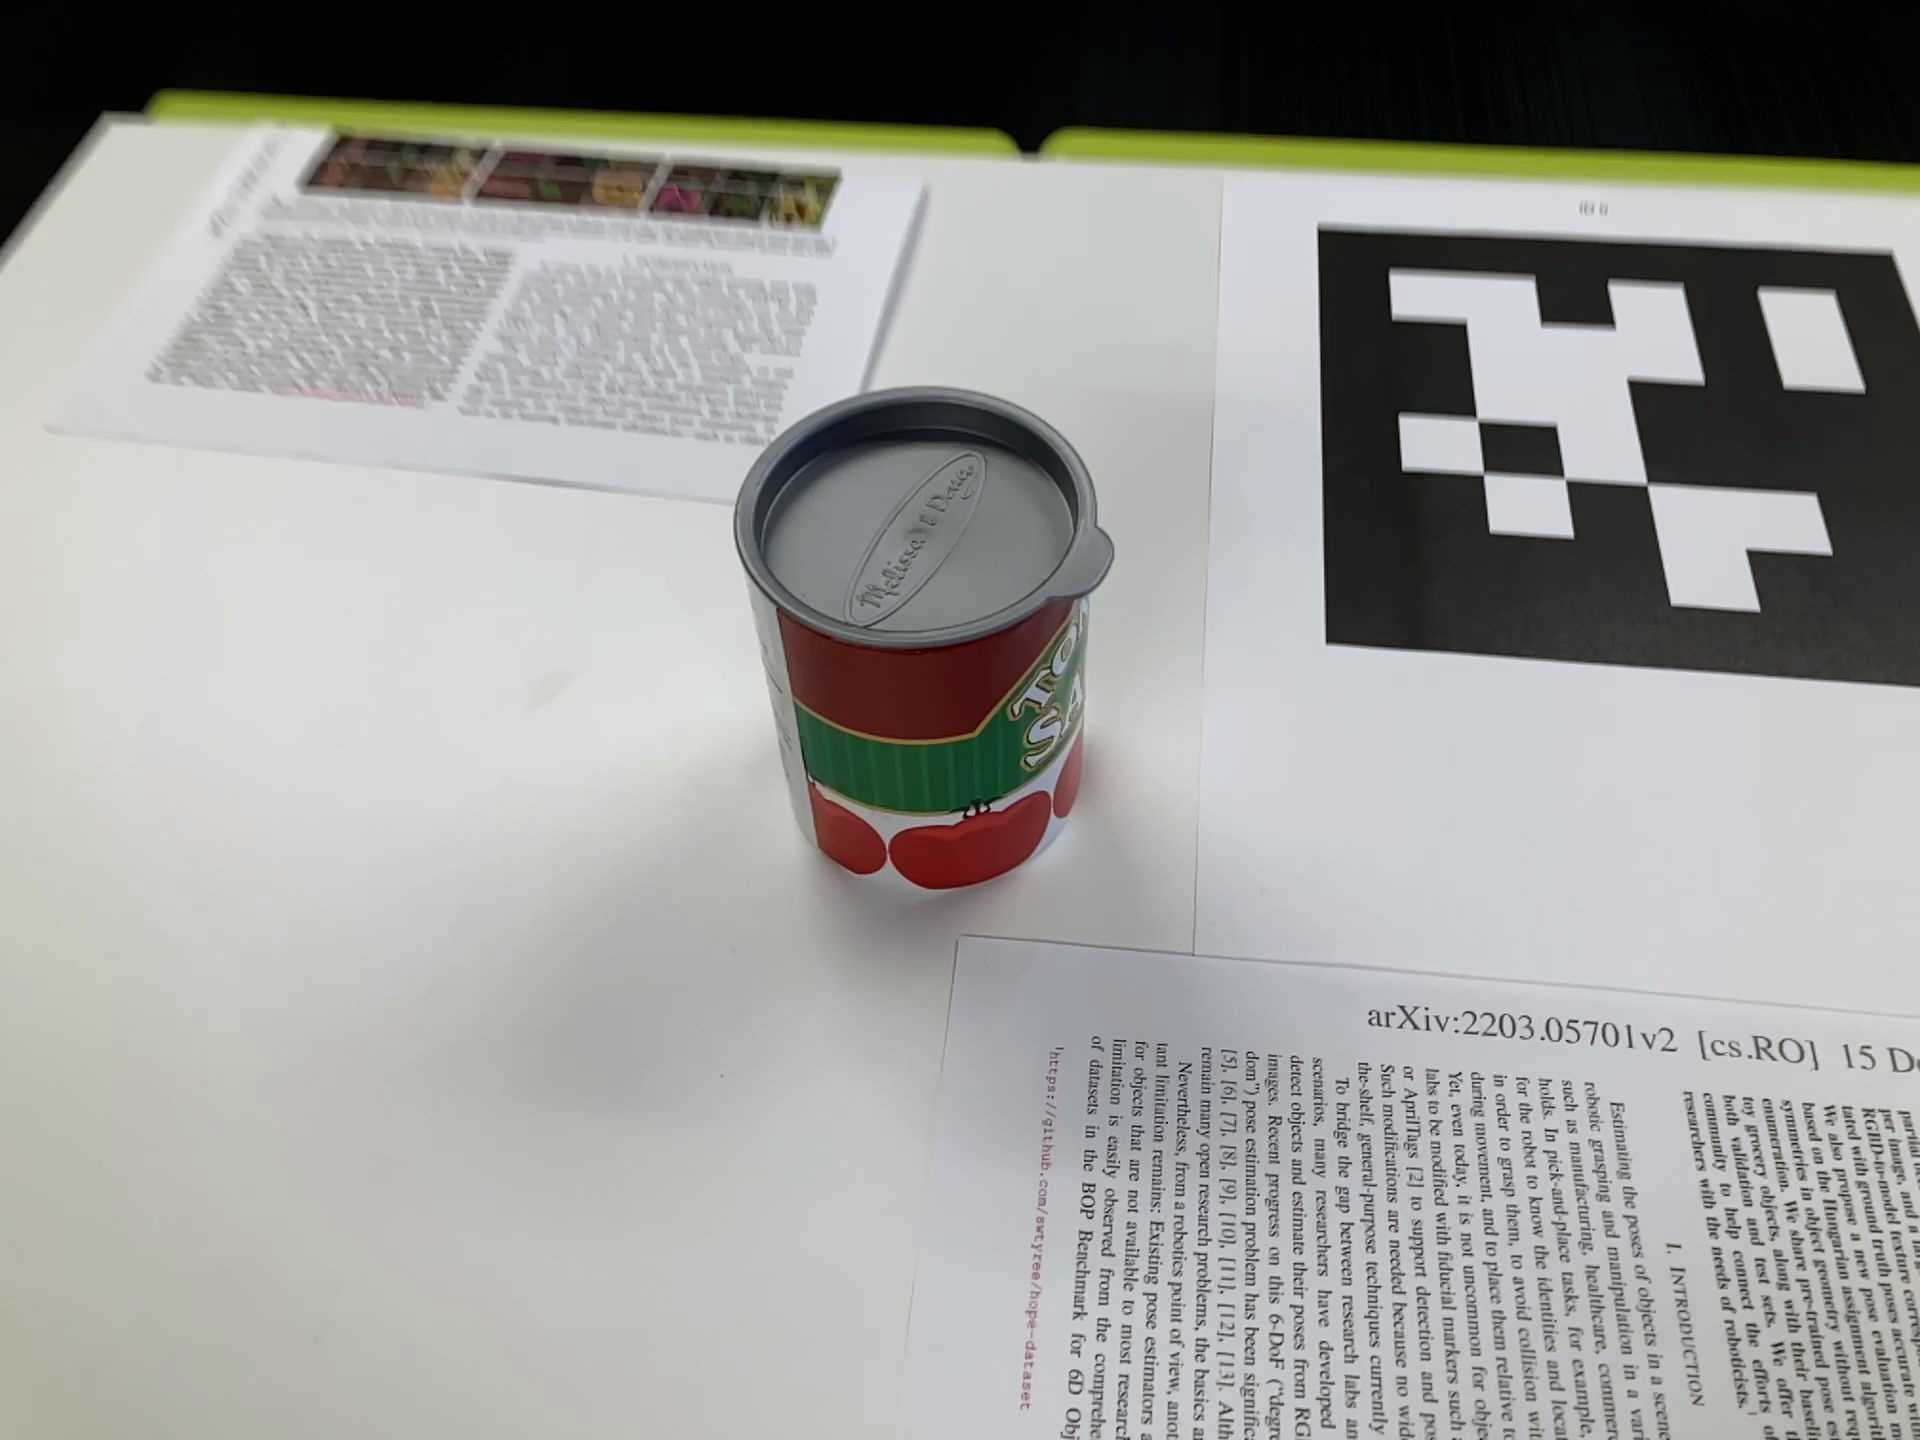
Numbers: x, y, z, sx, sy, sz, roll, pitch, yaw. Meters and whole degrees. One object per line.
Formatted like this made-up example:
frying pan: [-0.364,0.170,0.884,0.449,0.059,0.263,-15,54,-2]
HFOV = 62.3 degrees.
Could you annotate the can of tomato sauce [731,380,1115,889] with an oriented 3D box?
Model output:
can of tomato sauce: [-0.005,-0.014,0.321,0.071,0.083,0.071,-1,53,1]
